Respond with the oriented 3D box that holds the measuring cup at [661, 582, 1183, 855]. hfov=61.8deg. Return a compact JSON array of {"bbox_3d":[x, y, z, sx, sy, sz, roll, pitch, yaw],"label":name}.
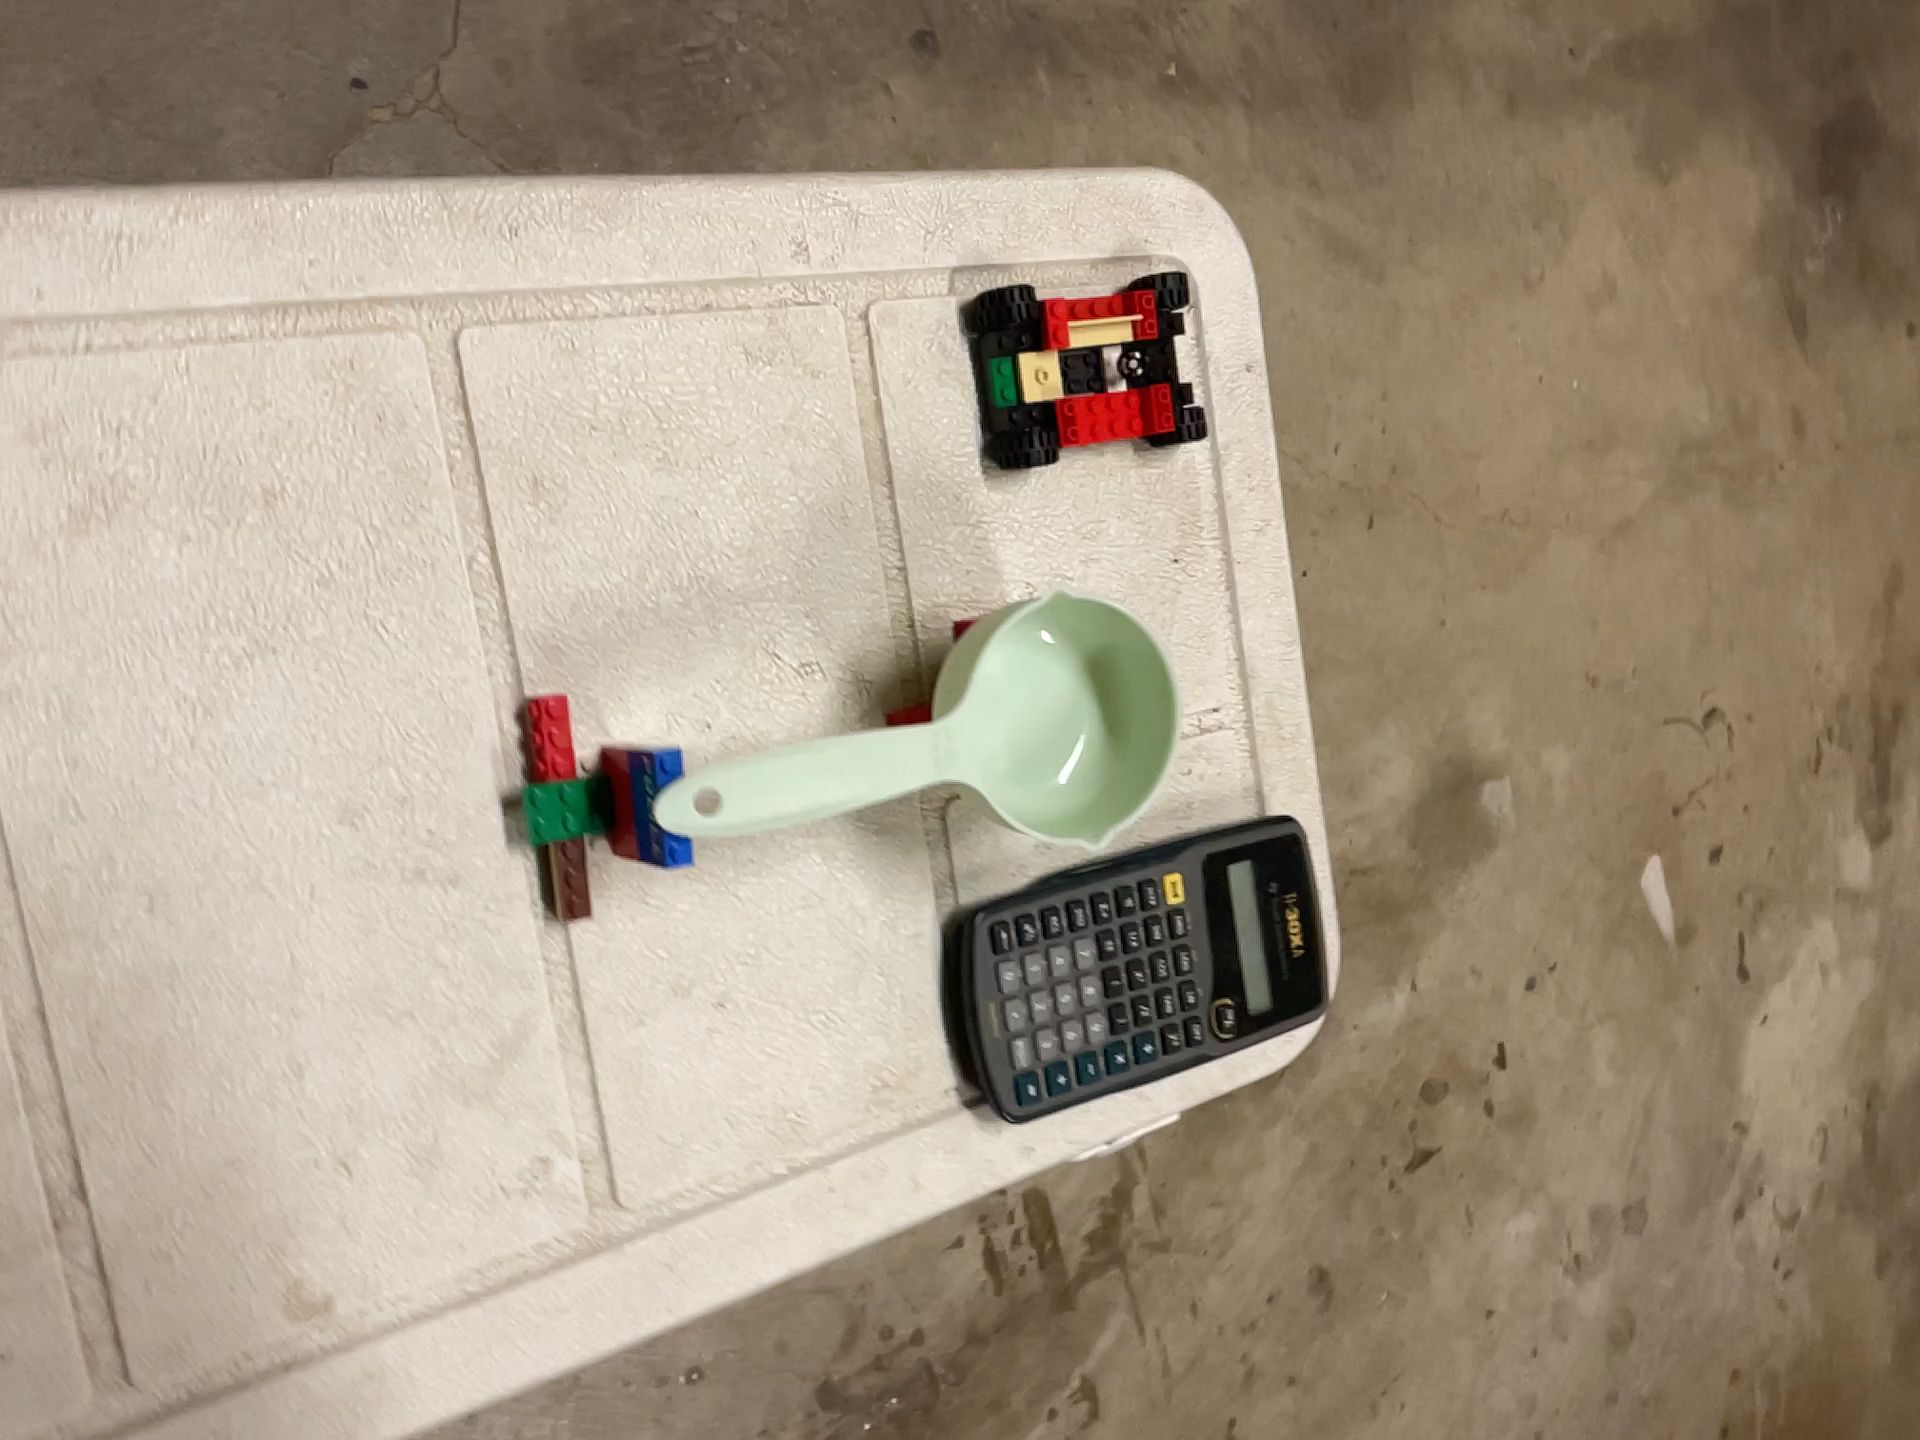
[{"bbox_3d":[-0.012,0.009,0.474,0.167,0.038,0.083,-14,100,-25],"label":"measuring cup"}]
